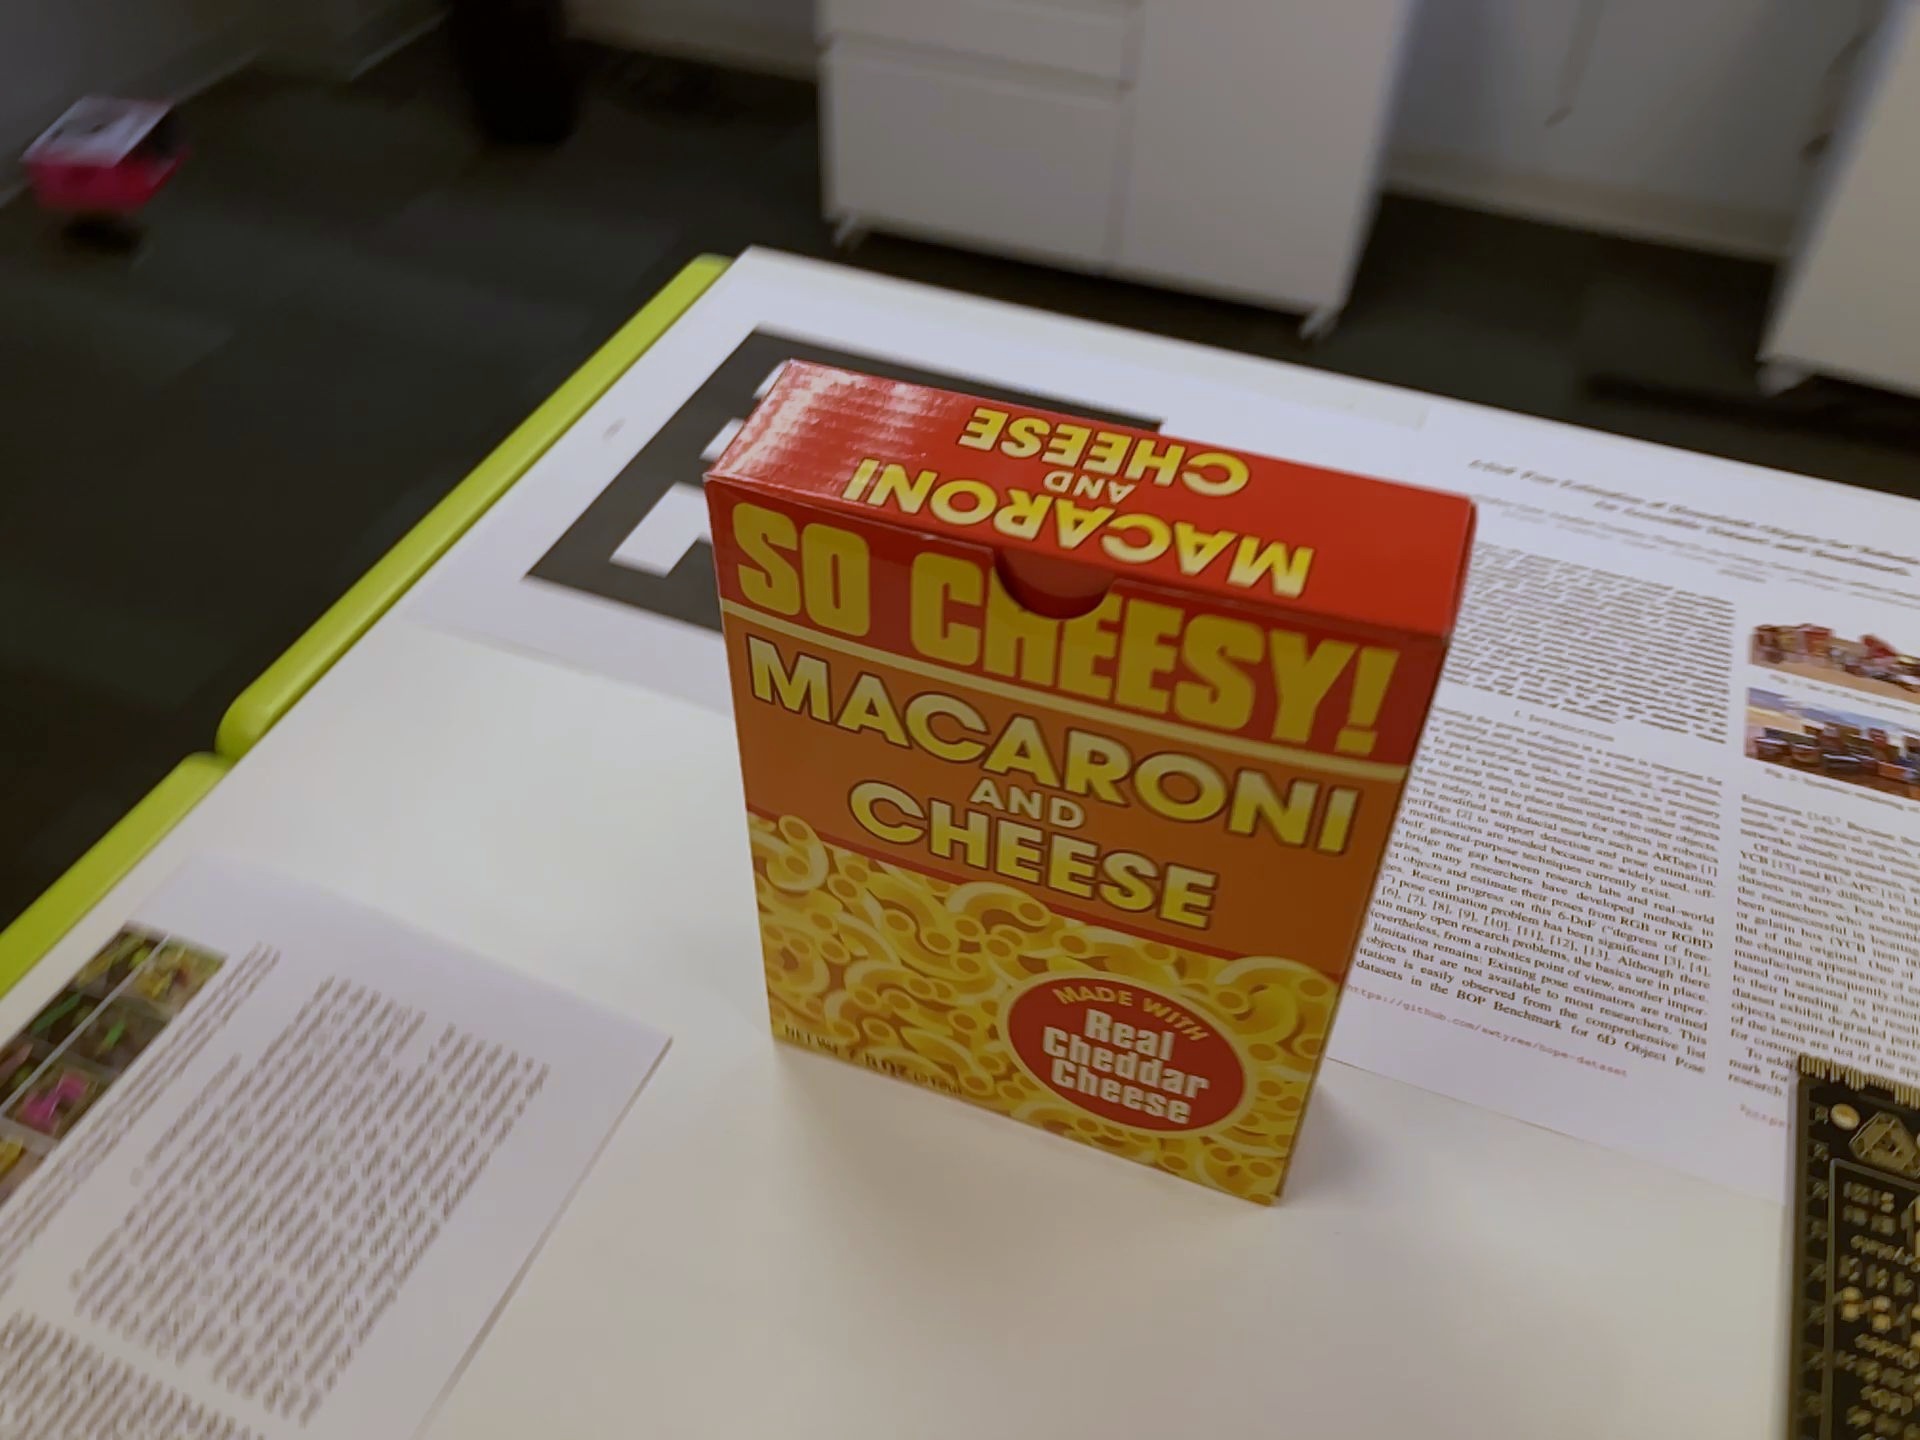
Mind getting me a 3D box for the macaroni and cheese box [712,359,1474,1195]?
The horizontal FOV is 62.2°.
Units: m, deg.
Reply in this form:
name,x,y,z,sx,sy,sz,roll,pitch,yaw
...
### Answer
name,x,y,z,sx,sy,sz,roll,pitch,yaw
macaroni and cheese box,0.021,0.020,0.318,0.124,0.166,0.040,14,46,13
